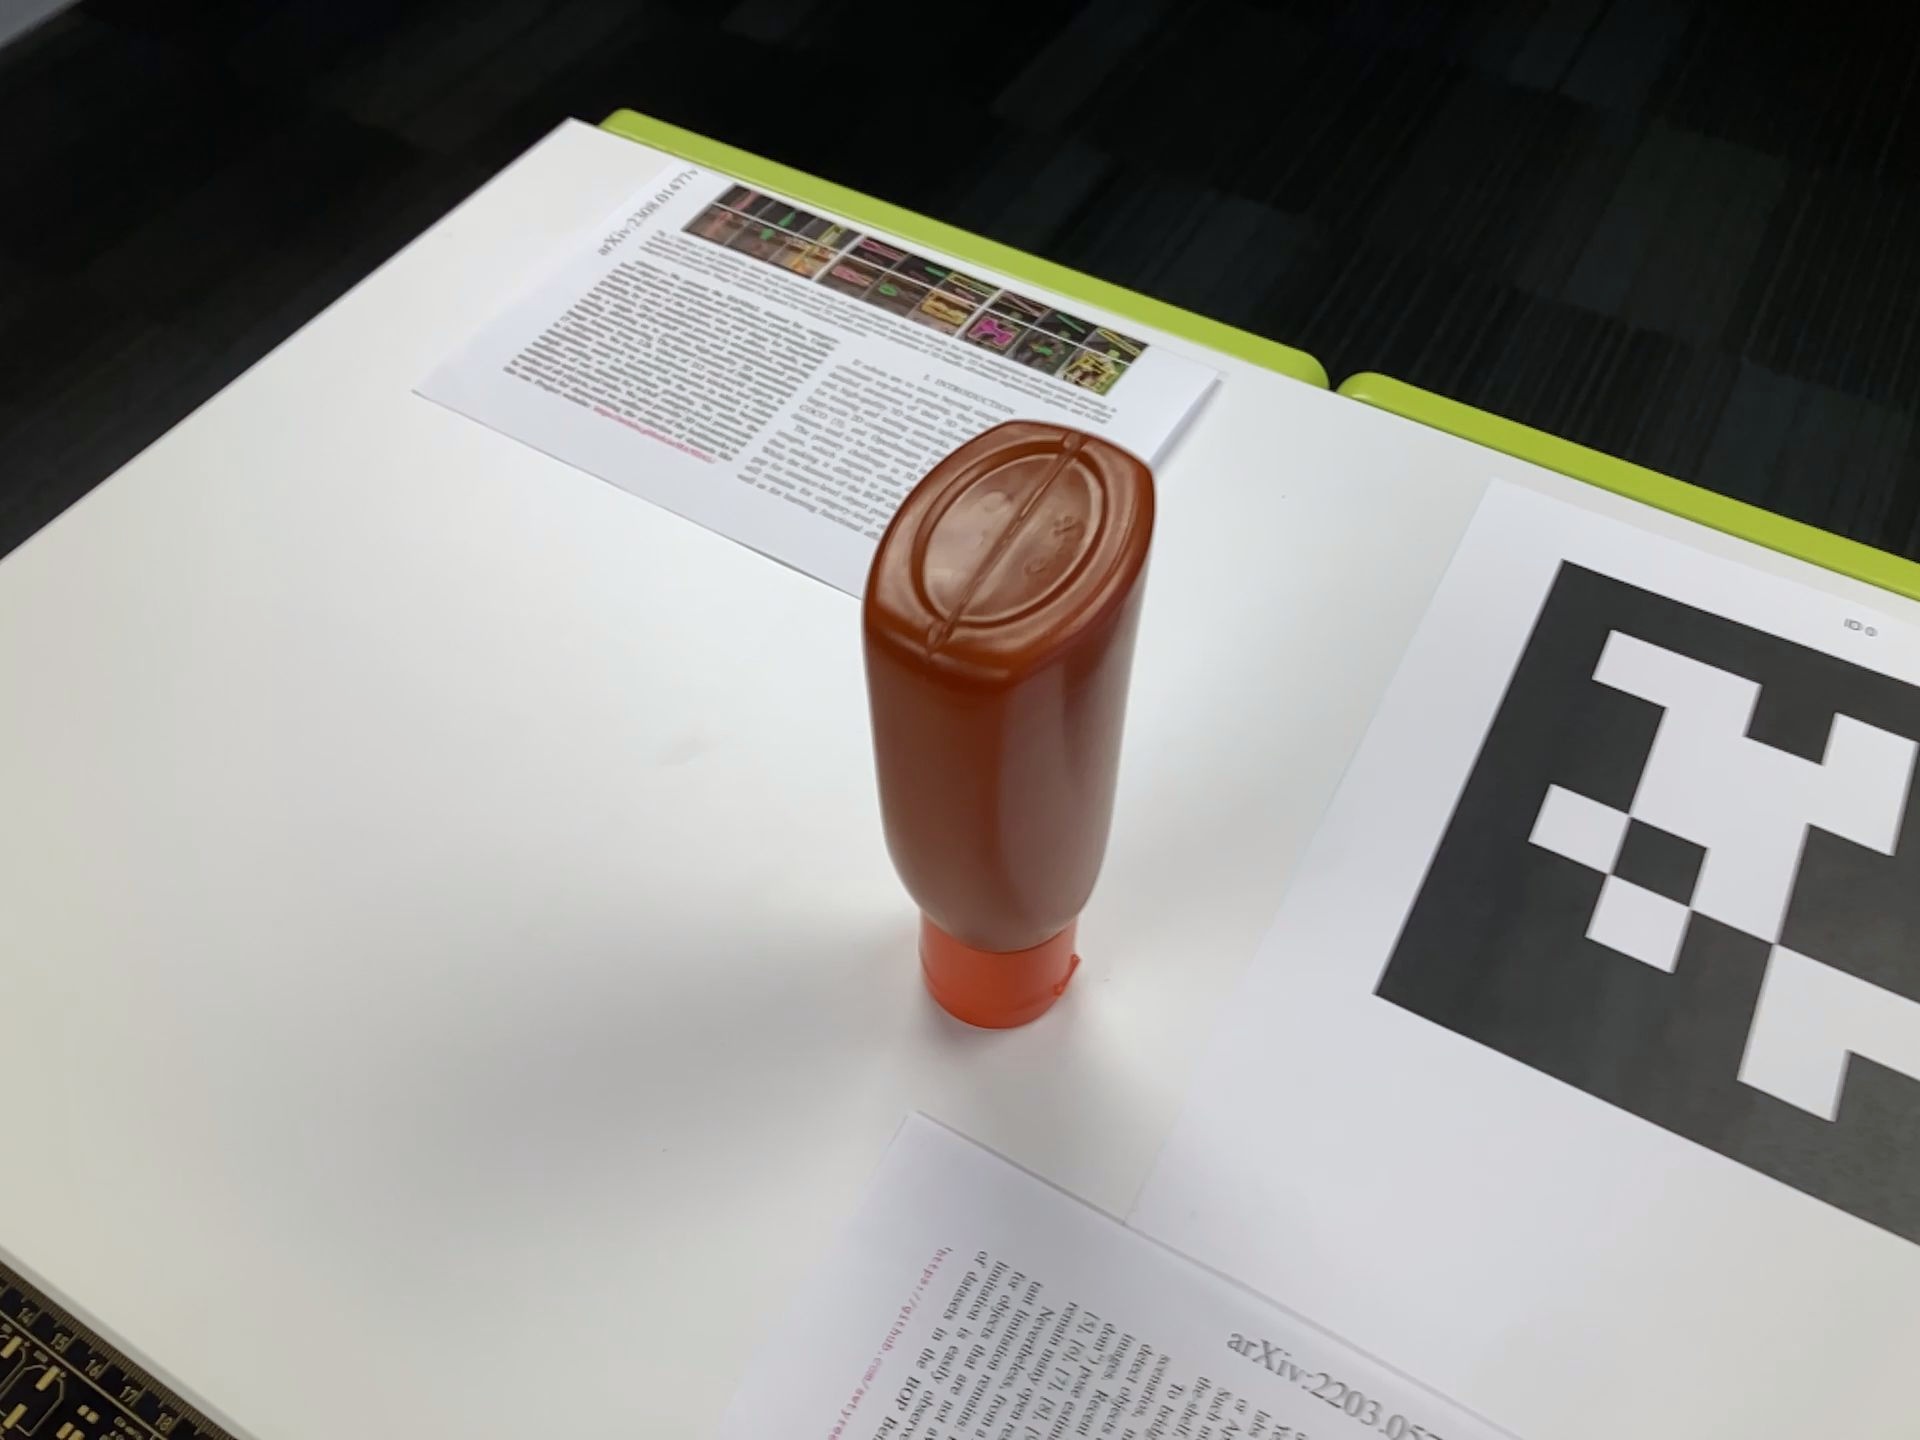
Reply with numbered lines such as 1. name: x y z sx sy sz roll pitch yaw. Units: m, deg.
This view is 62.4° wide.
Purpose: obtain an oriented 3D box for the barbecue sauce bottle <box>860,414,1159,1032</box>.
1. barbecue sauce bottle: 0.009 0.013 0.320 0.043 0.148 0.065 23 55 17
